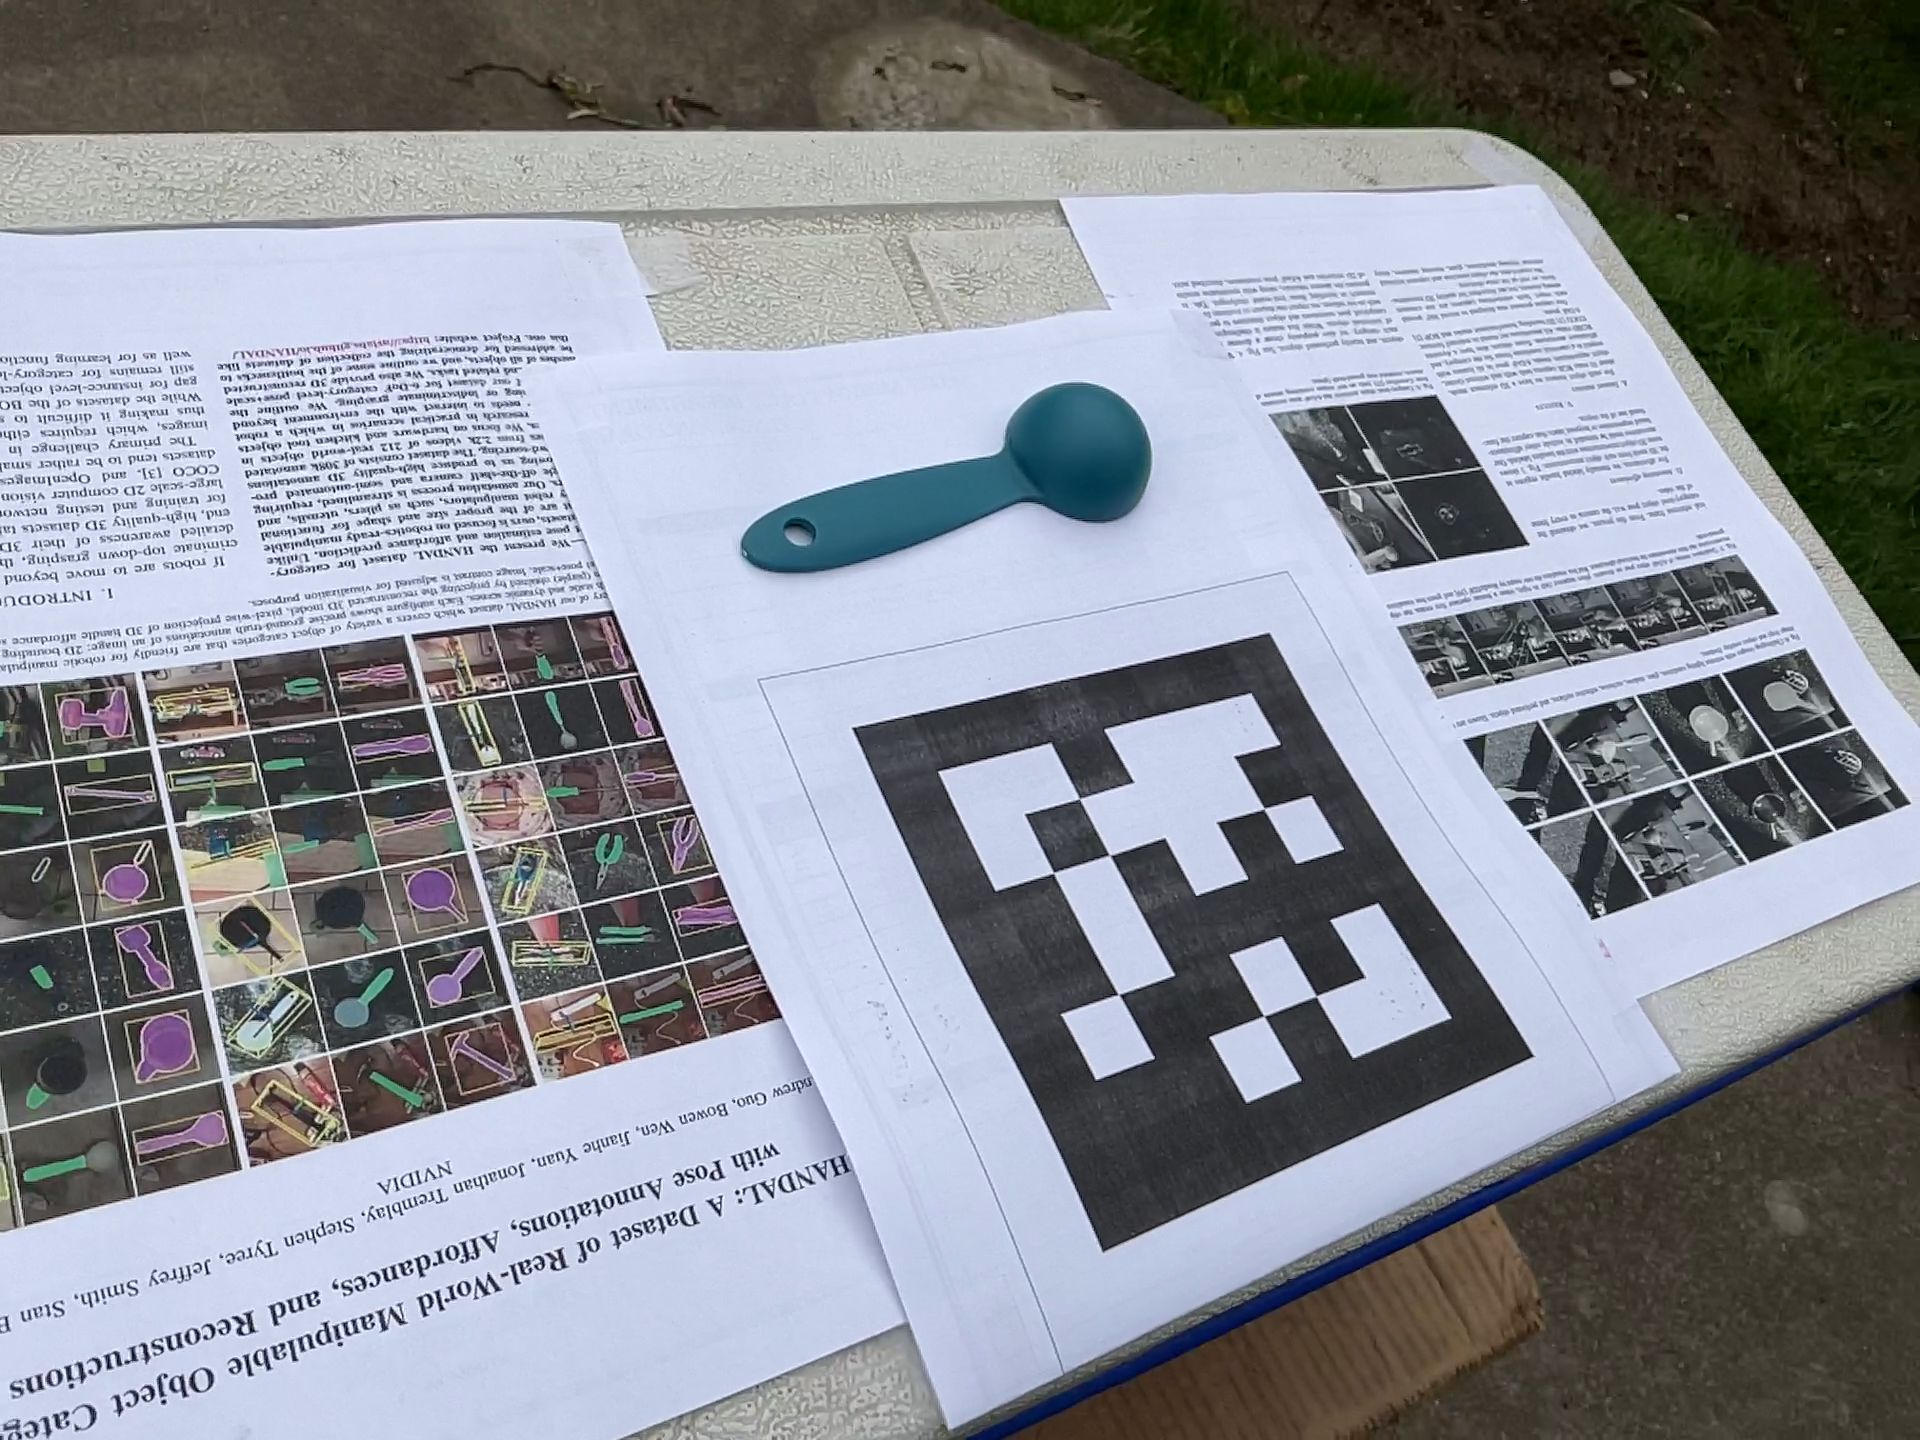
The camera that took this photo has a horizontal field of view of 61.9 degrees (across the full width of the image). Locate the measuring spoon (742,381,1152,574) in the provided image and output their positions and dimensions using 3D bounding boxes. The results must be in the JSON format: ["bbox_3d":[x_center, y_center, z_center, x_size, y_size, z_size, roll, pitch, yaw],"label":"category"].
[{"bbox_3d":[0.002,-0.063,0.412,0.128,0.021,0.042,-22,76,-33],"label":"measuring spoon"}]
